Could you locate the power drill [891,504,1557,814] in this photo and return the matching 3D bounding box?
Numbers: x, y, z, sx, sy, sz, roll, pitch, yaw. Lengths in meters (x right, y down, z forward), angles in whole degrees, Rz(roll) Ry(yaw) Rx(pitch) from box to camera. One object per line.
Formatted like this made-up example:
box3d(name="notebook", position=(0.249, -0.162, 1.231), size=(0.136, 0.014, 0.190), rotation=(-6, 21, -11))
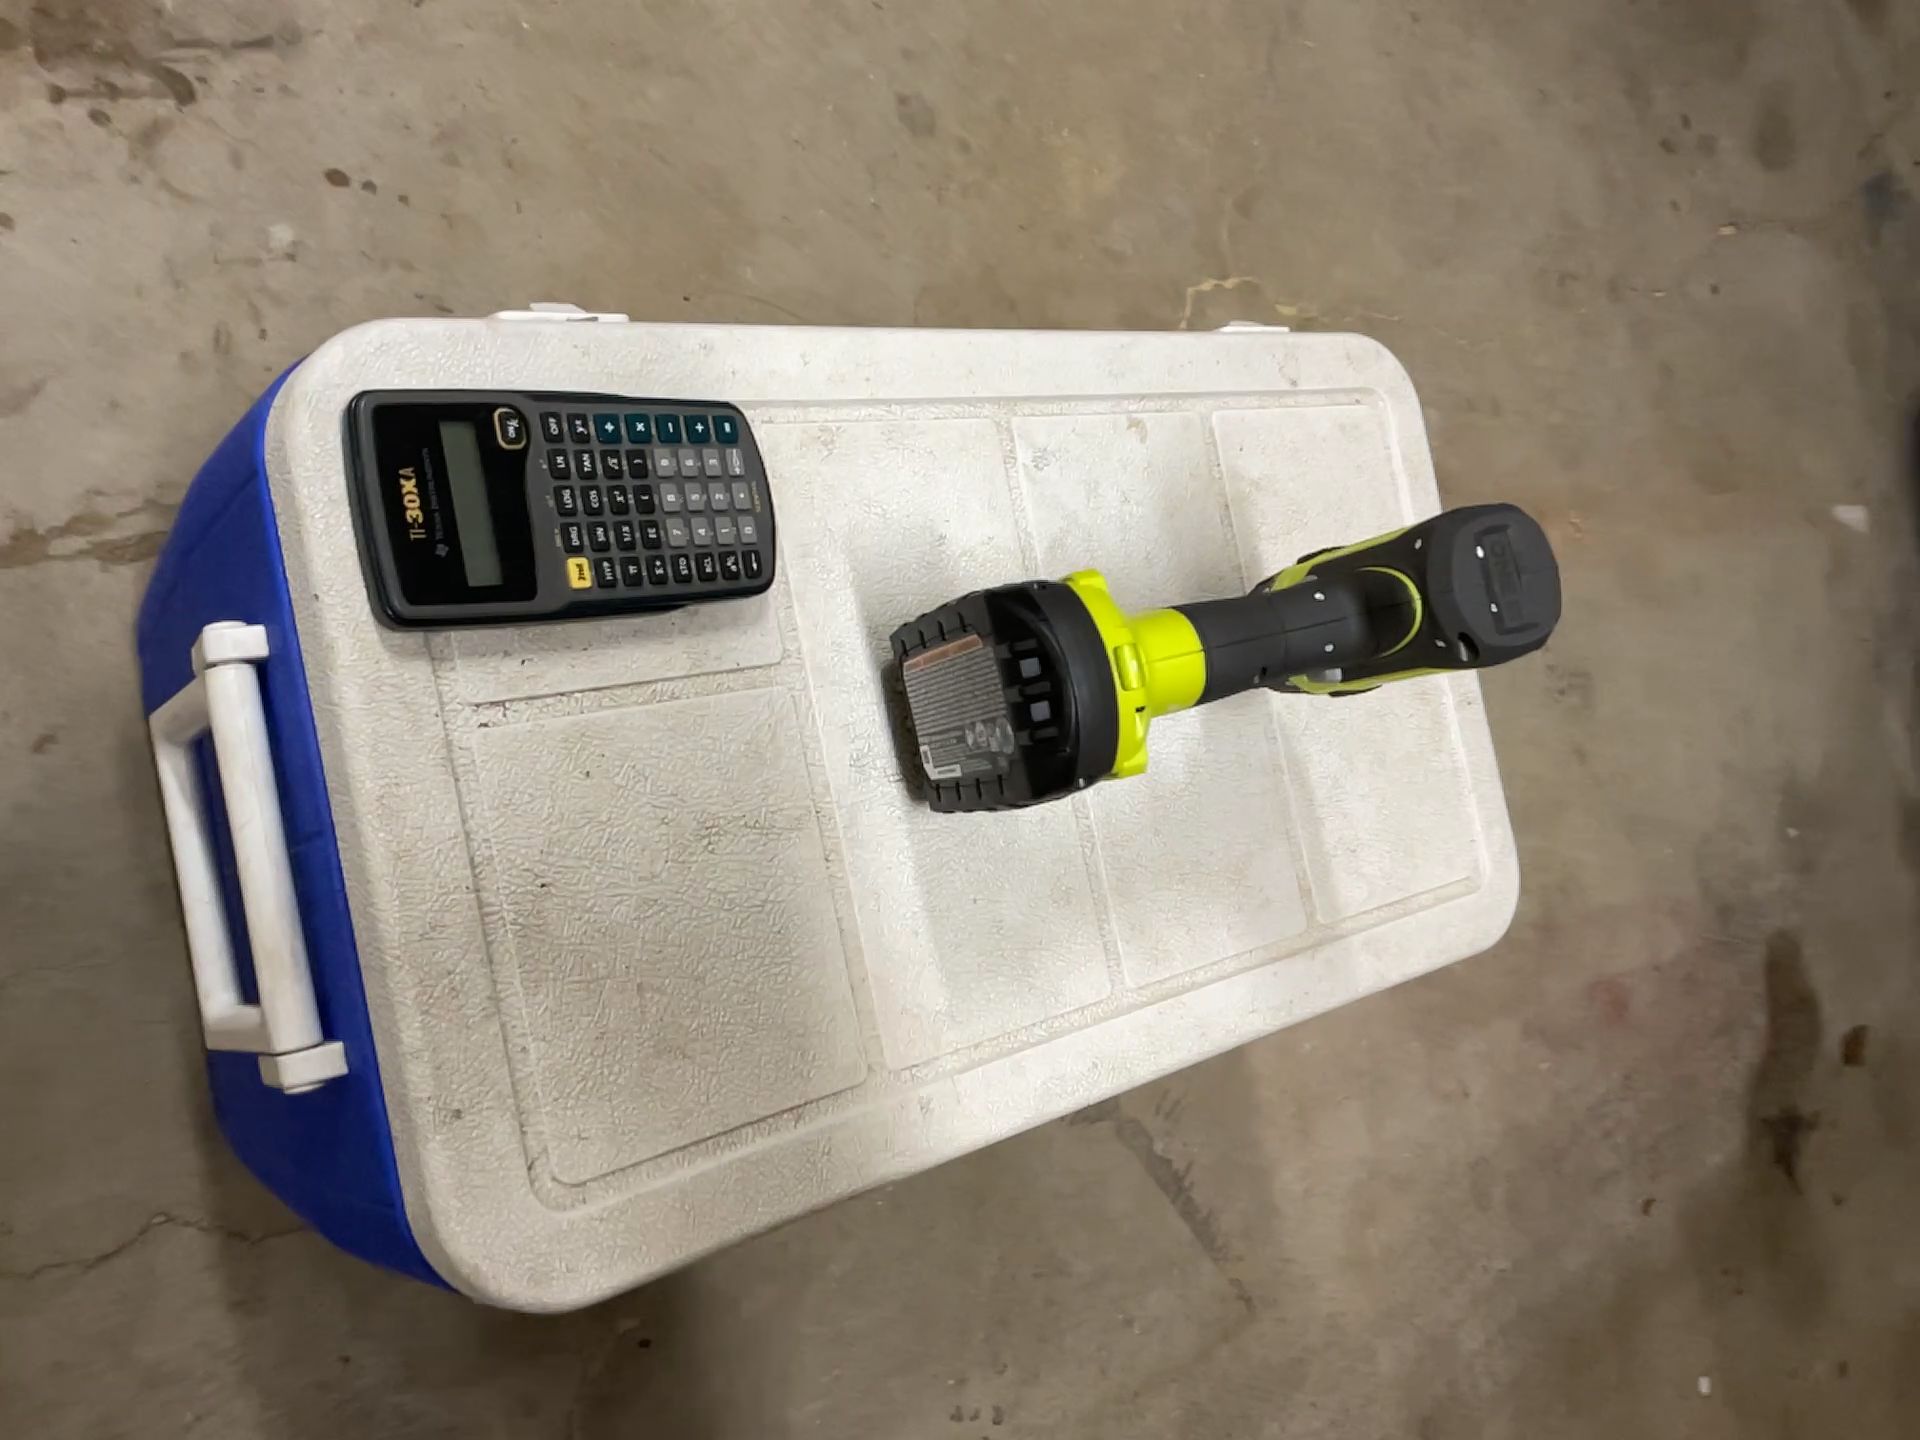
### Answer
box3d(name="power drill", position=(0.095, -0.026, 0.648), size=(0.229, 0.190, 0.080), rotation=(-13, 89, -24))
